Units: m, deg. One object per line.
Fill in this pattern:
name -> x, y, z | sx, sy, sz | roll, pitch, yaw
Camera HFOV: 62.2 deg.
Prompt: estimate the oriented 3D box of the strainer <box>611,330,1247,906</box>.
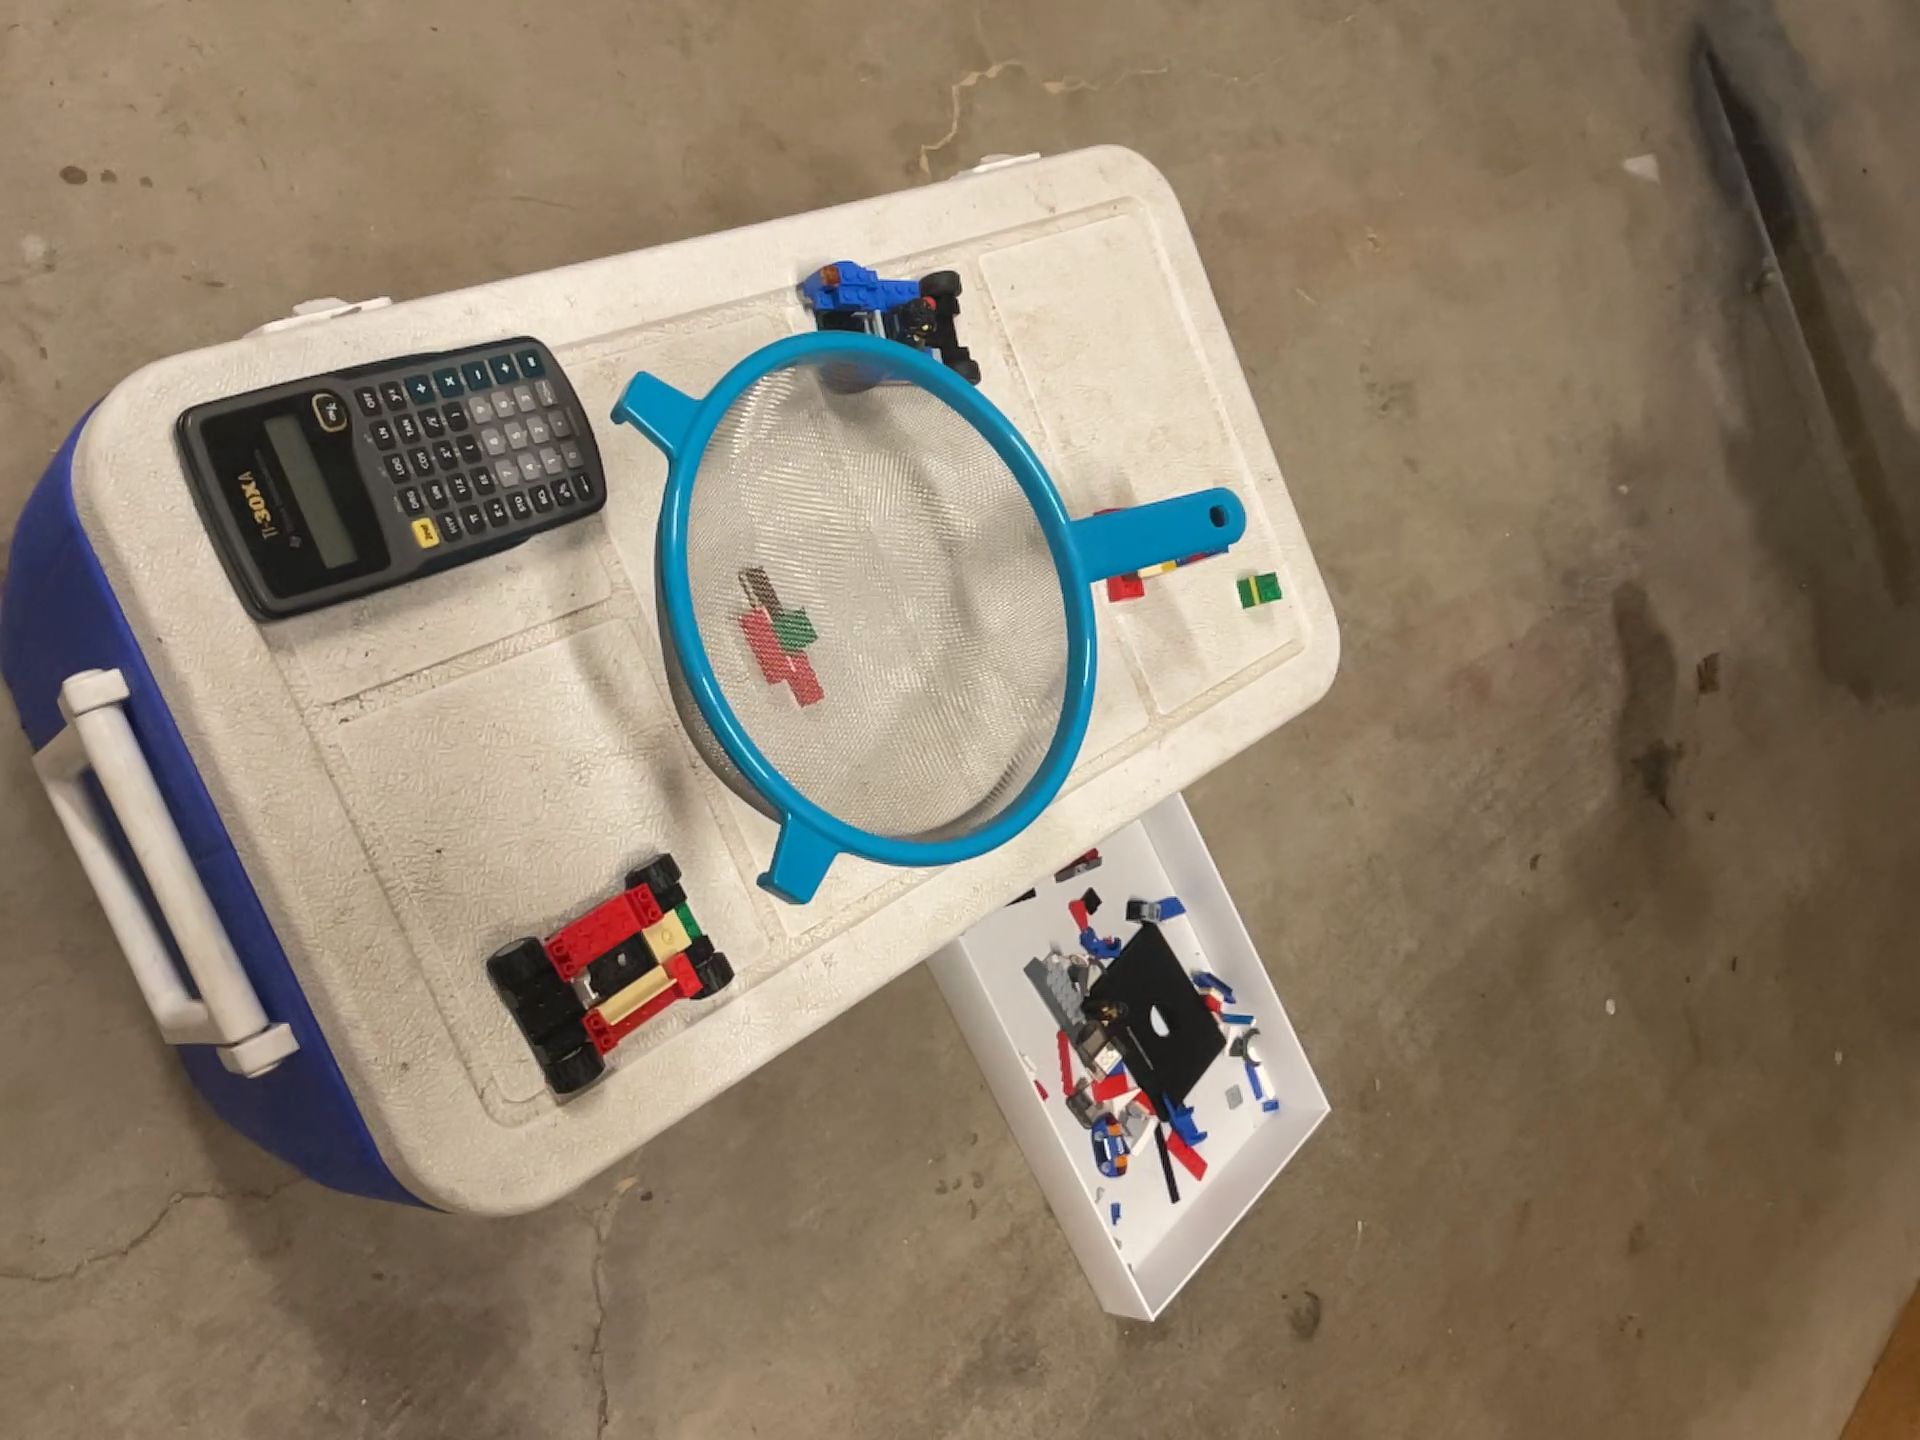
strainer -> -0.005, -0.055, 0.685 | 0.340, 0.095, 0.211 | -19, 91, -44
